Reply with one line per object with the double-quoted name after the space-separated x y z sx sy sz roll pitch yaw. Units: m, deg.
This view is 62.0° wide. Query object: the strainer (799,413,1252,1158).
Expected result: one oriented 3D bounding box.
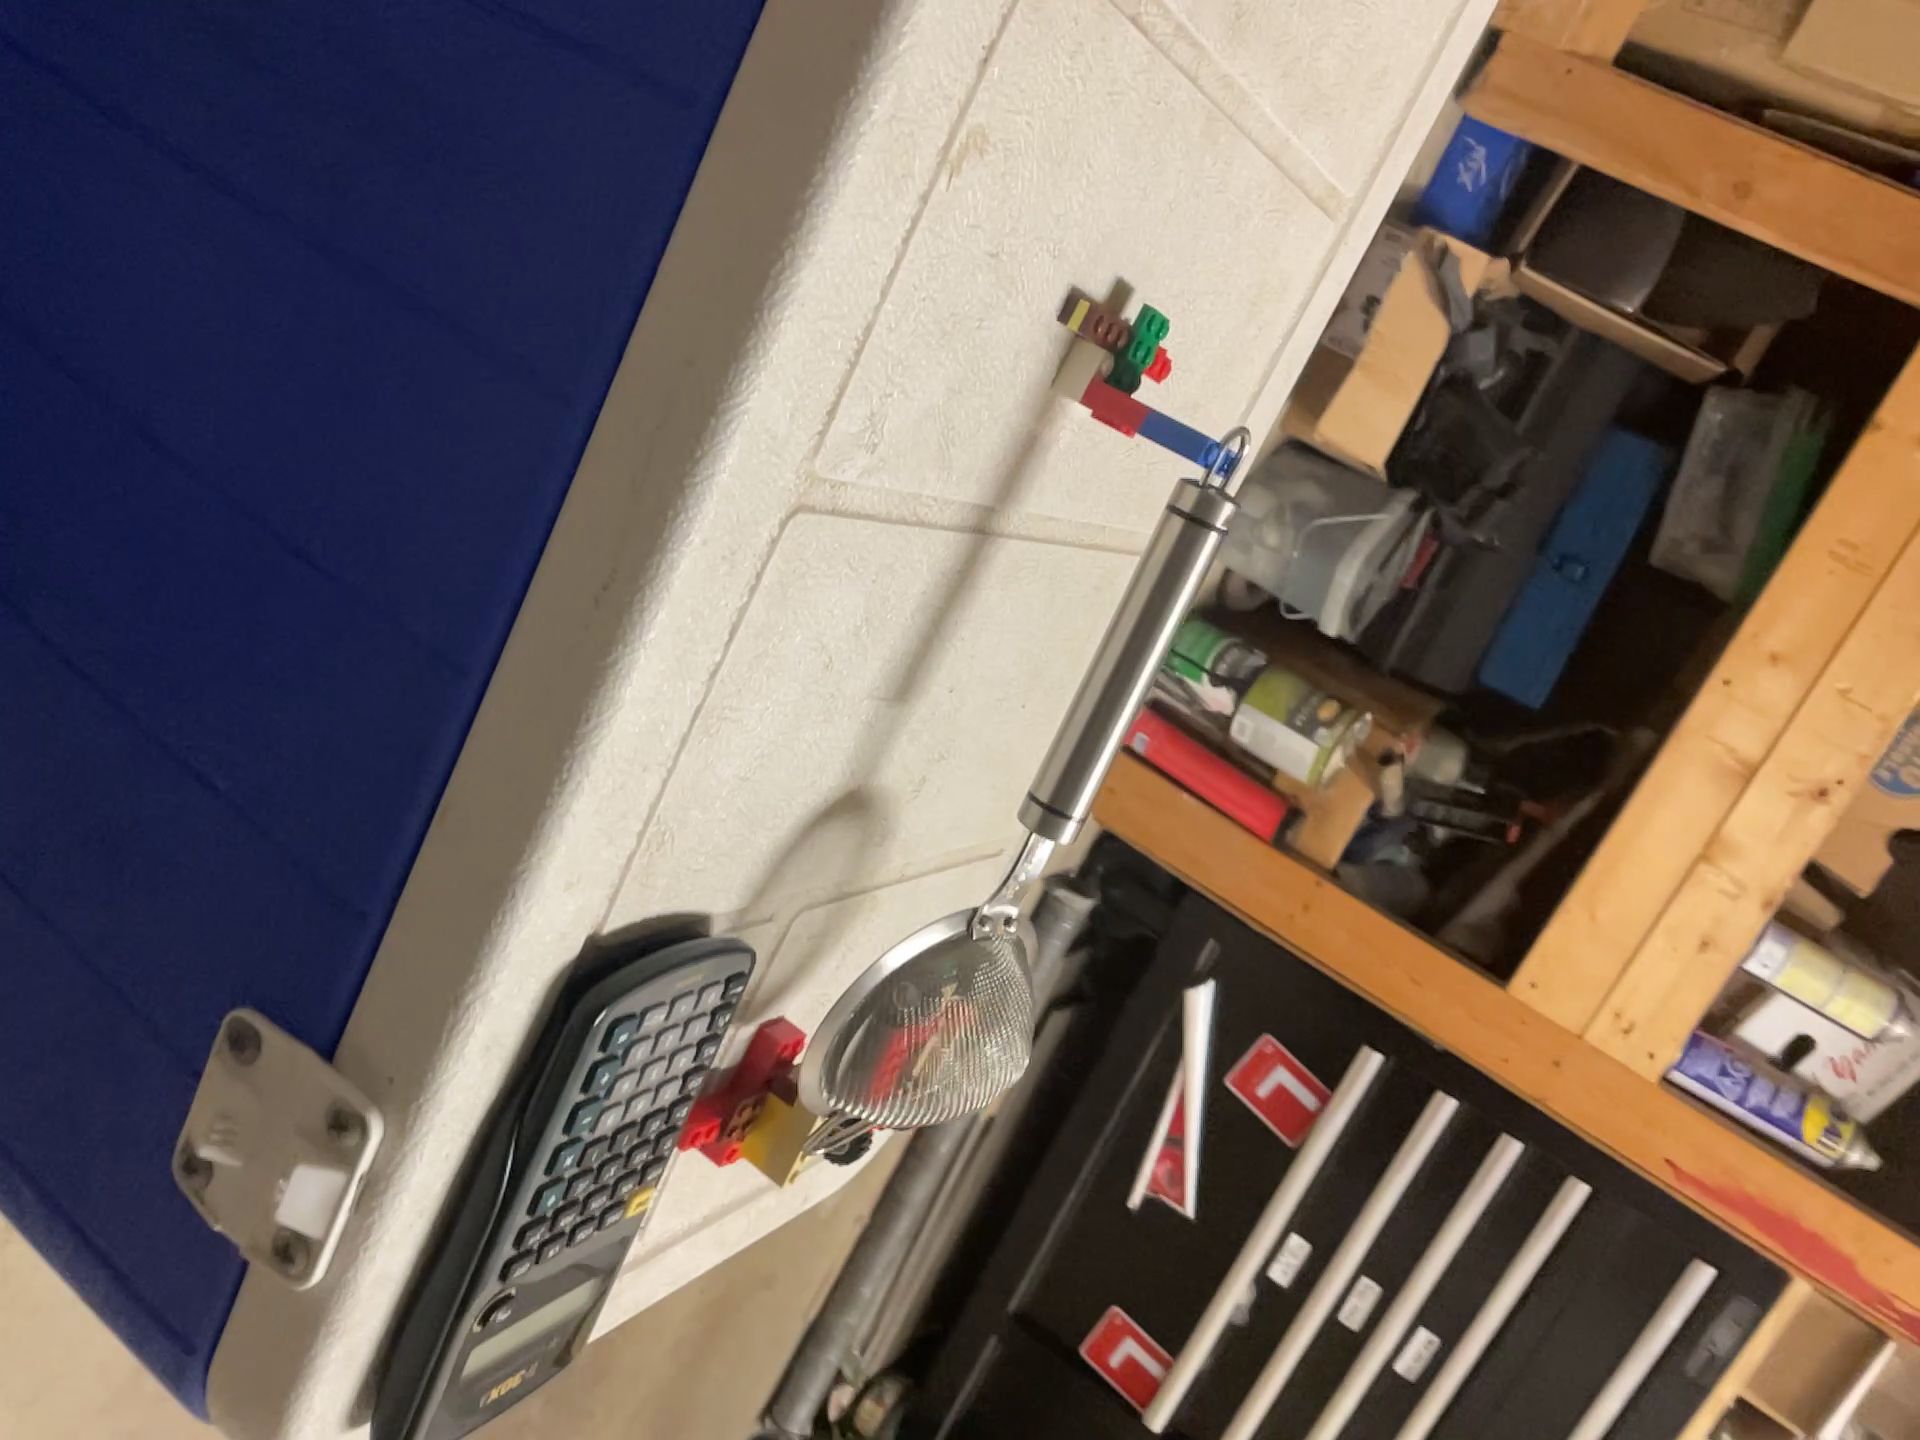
0.023 0.032 0.454 0.087 0.050 0.258 9 110 -50 "strainer"
